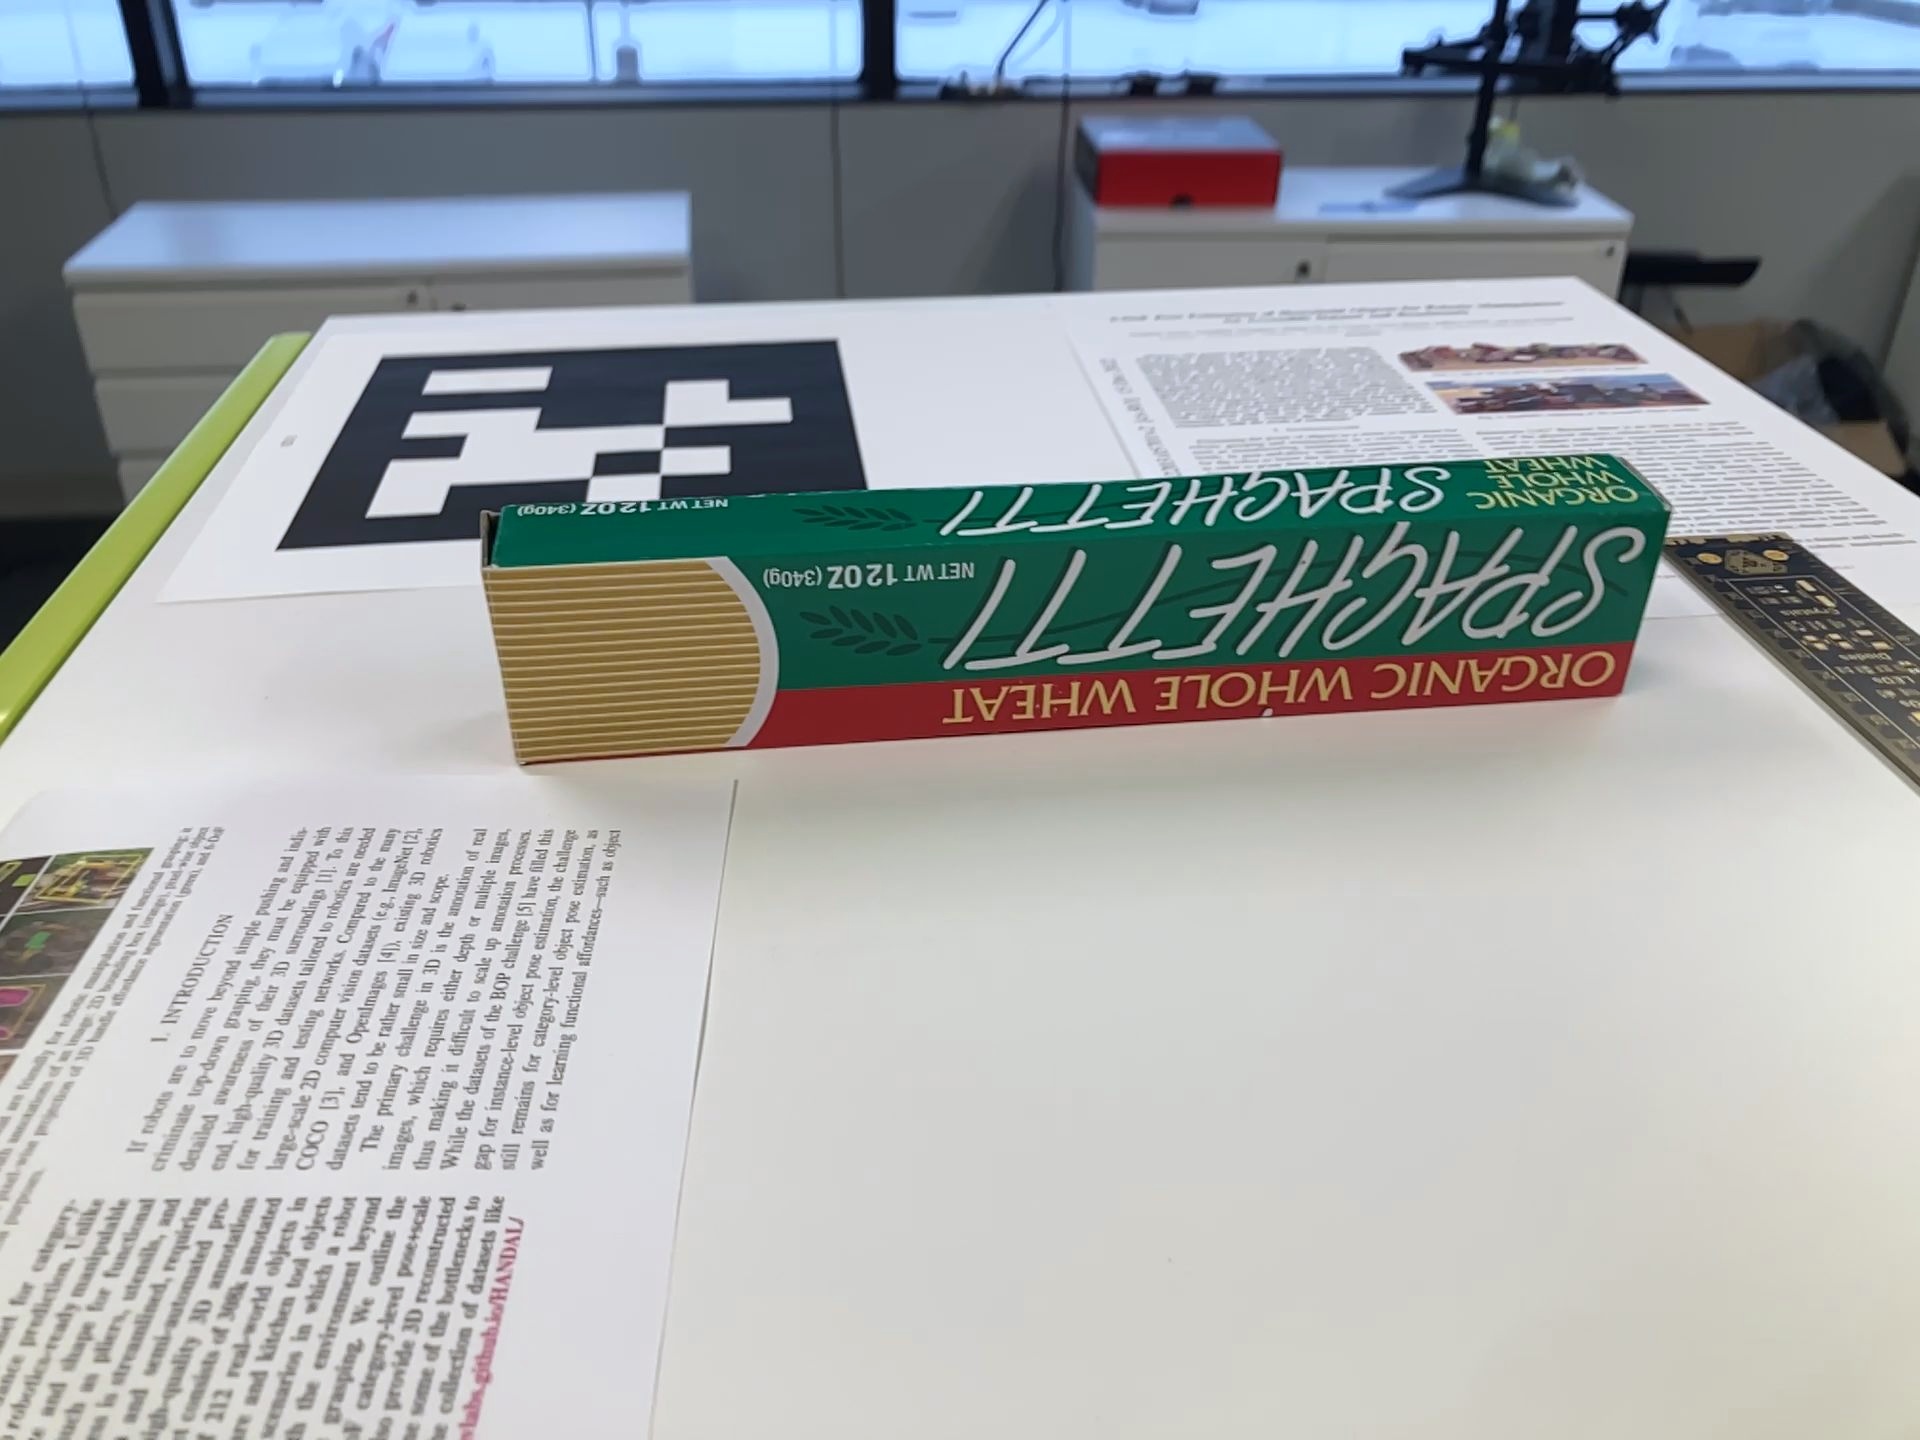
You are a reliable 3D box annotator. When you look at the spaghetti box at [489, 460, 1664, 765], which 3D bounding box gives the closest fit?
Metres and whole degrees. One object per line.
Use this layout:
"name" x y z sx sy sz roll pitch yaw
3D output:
"spaghetti box" 0.028 -0.025 0.348 0.250 0.050 0.028 -3 35 -6
